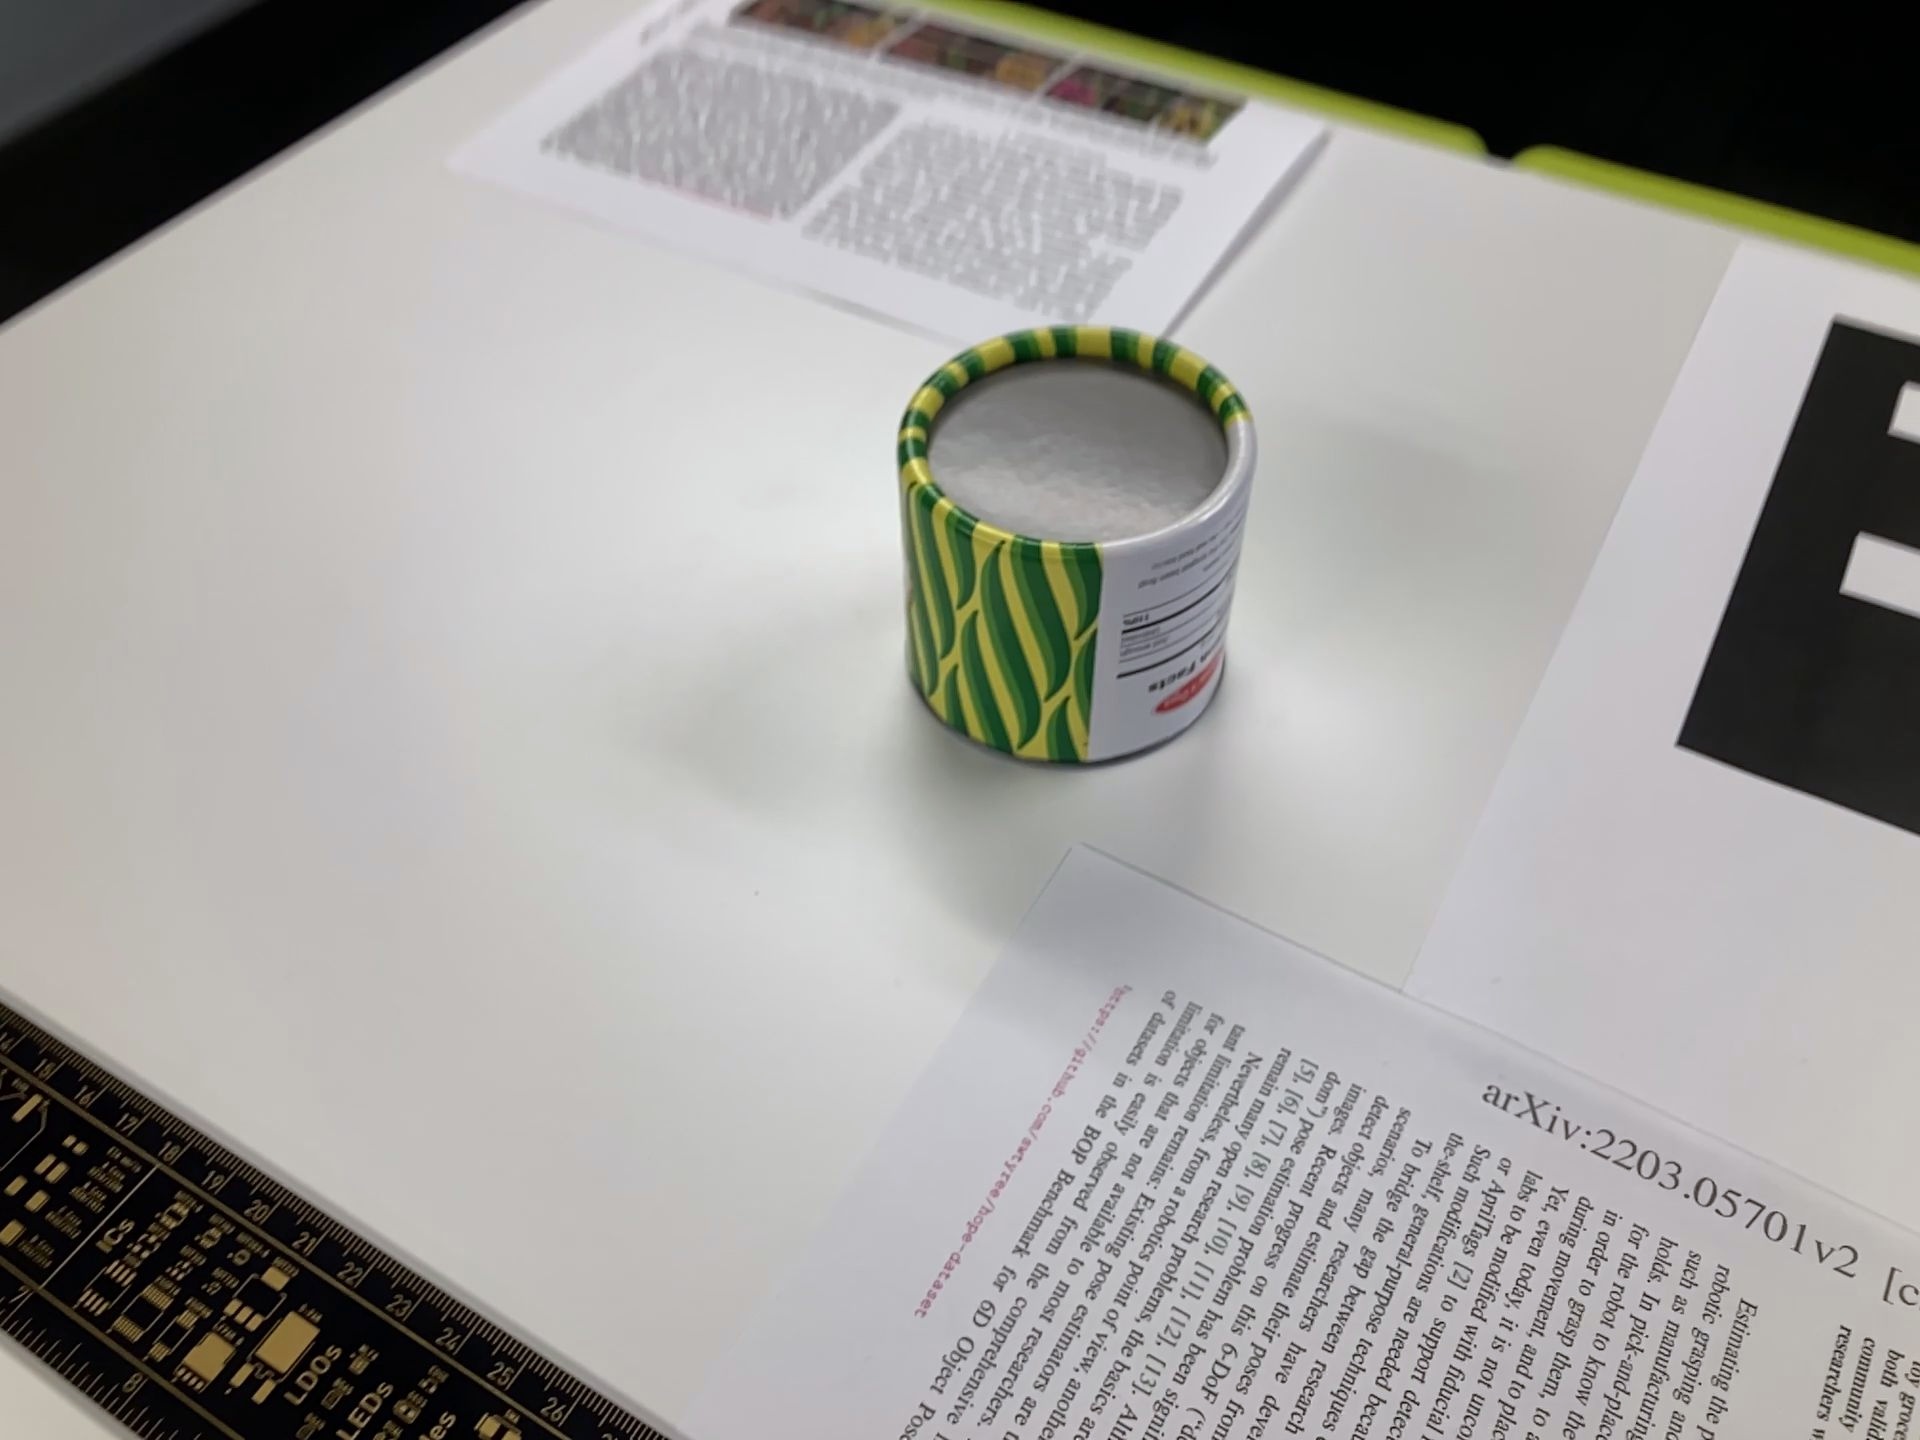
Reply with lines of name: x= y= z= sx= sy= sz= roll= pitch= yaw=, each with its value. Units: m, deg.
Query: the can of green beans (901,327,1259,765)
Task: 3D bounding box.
can of green beans: x=0.022 y=-0.035 z=0.314 sx=0.071 sy=0.058 sz=0.071 roll=-1 pitch=50 yaw=1
